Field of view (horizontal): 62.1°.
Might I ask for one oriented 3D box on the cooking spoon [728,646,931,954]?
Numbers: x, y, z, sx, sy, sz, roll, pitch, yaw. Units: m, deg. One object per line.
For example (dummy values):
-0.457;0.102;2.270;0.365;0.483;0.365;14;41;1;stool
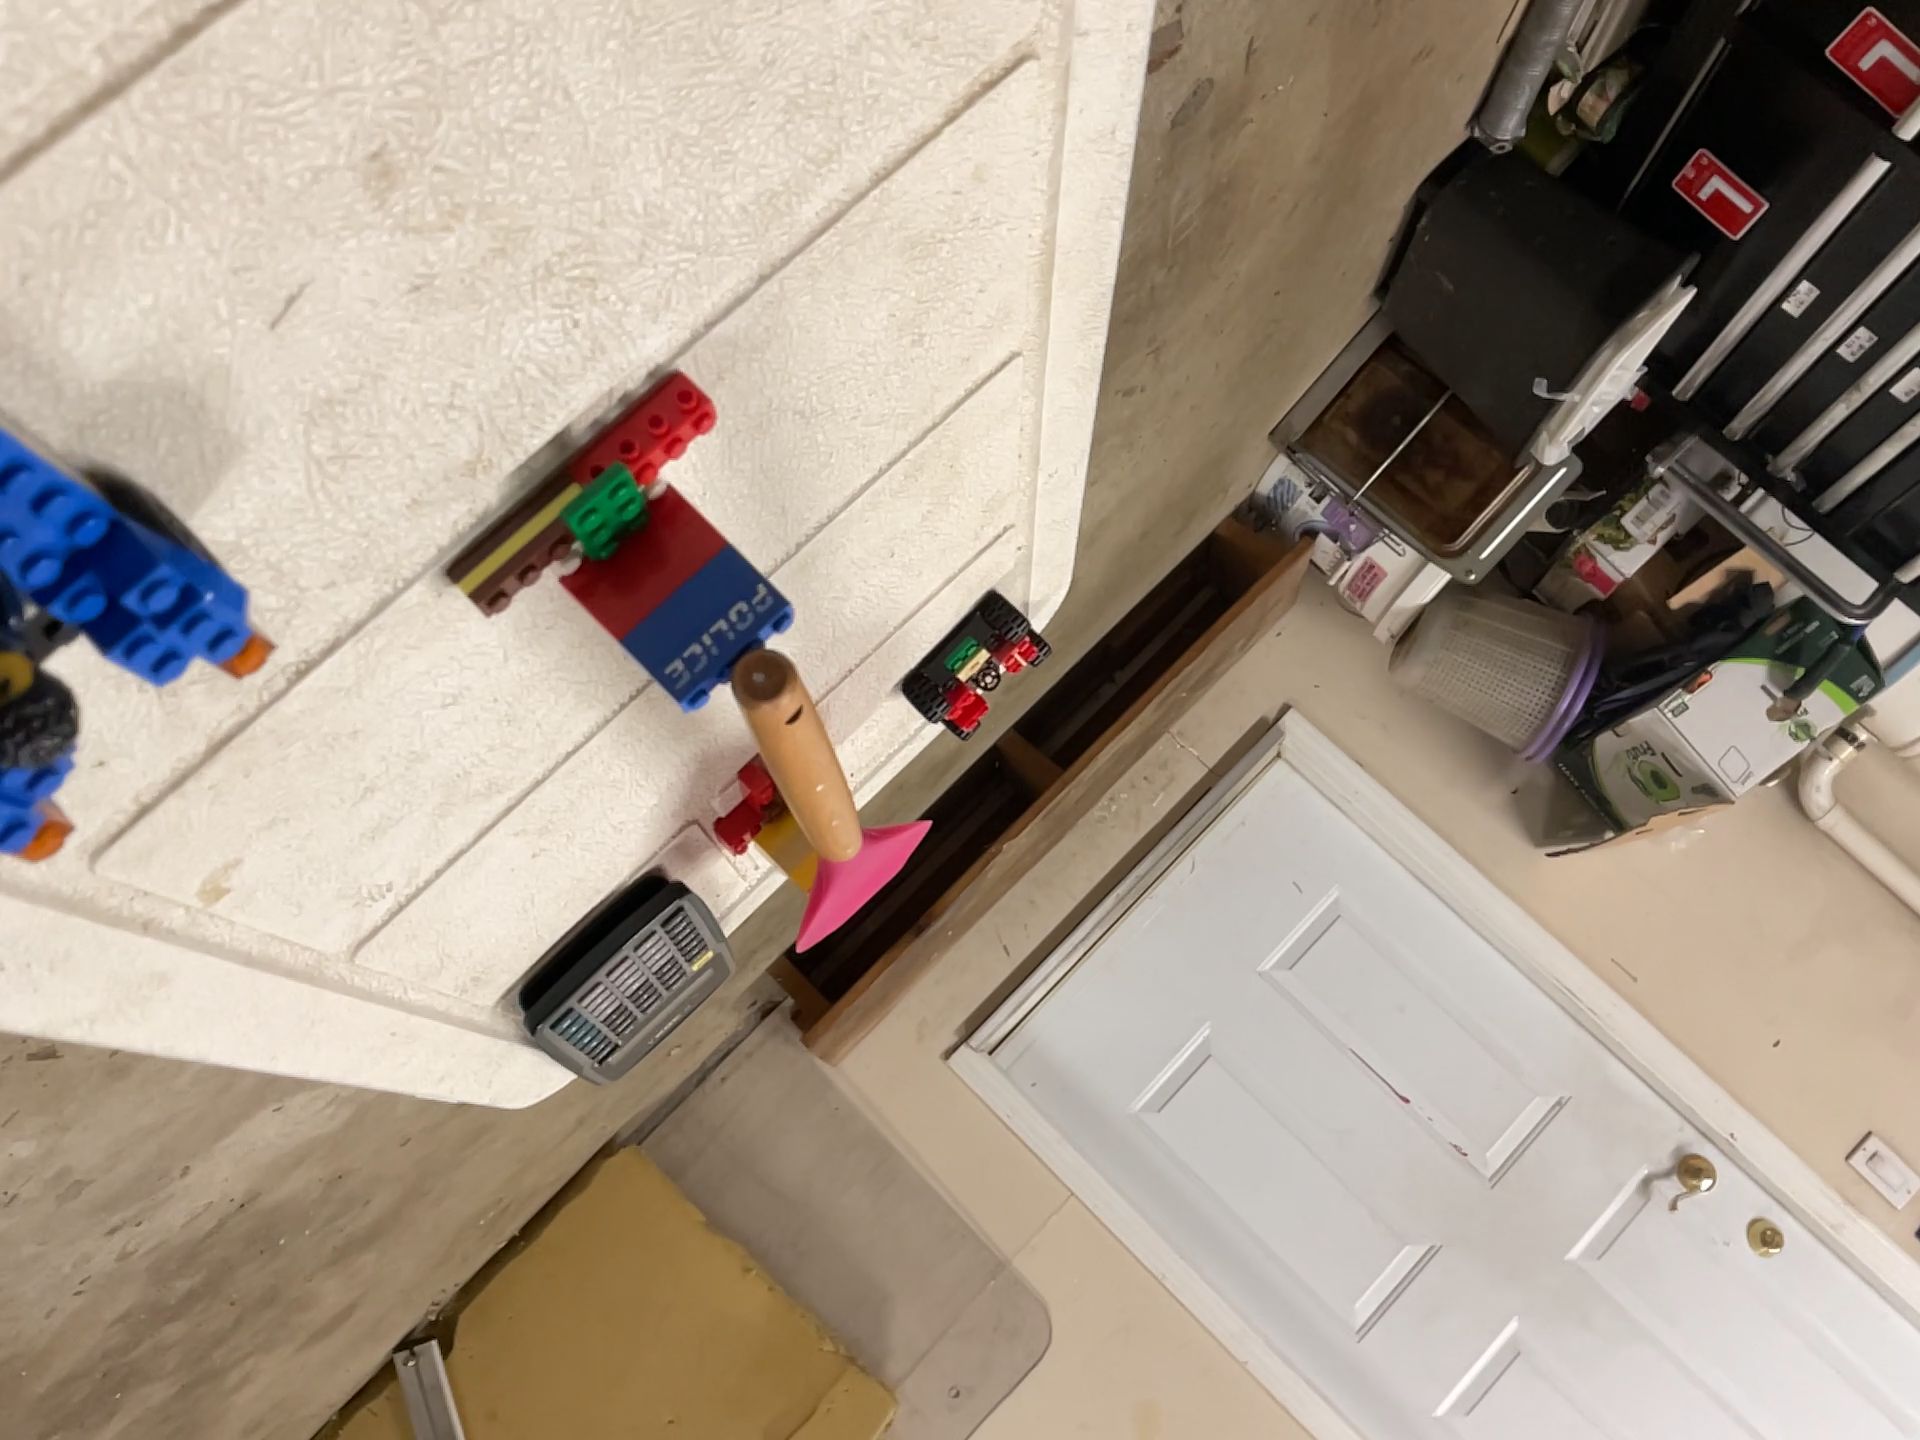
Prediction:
-0.039;0.030;0.480;0.069;0.017;0.318;-44;170;-10;cooking spoon
